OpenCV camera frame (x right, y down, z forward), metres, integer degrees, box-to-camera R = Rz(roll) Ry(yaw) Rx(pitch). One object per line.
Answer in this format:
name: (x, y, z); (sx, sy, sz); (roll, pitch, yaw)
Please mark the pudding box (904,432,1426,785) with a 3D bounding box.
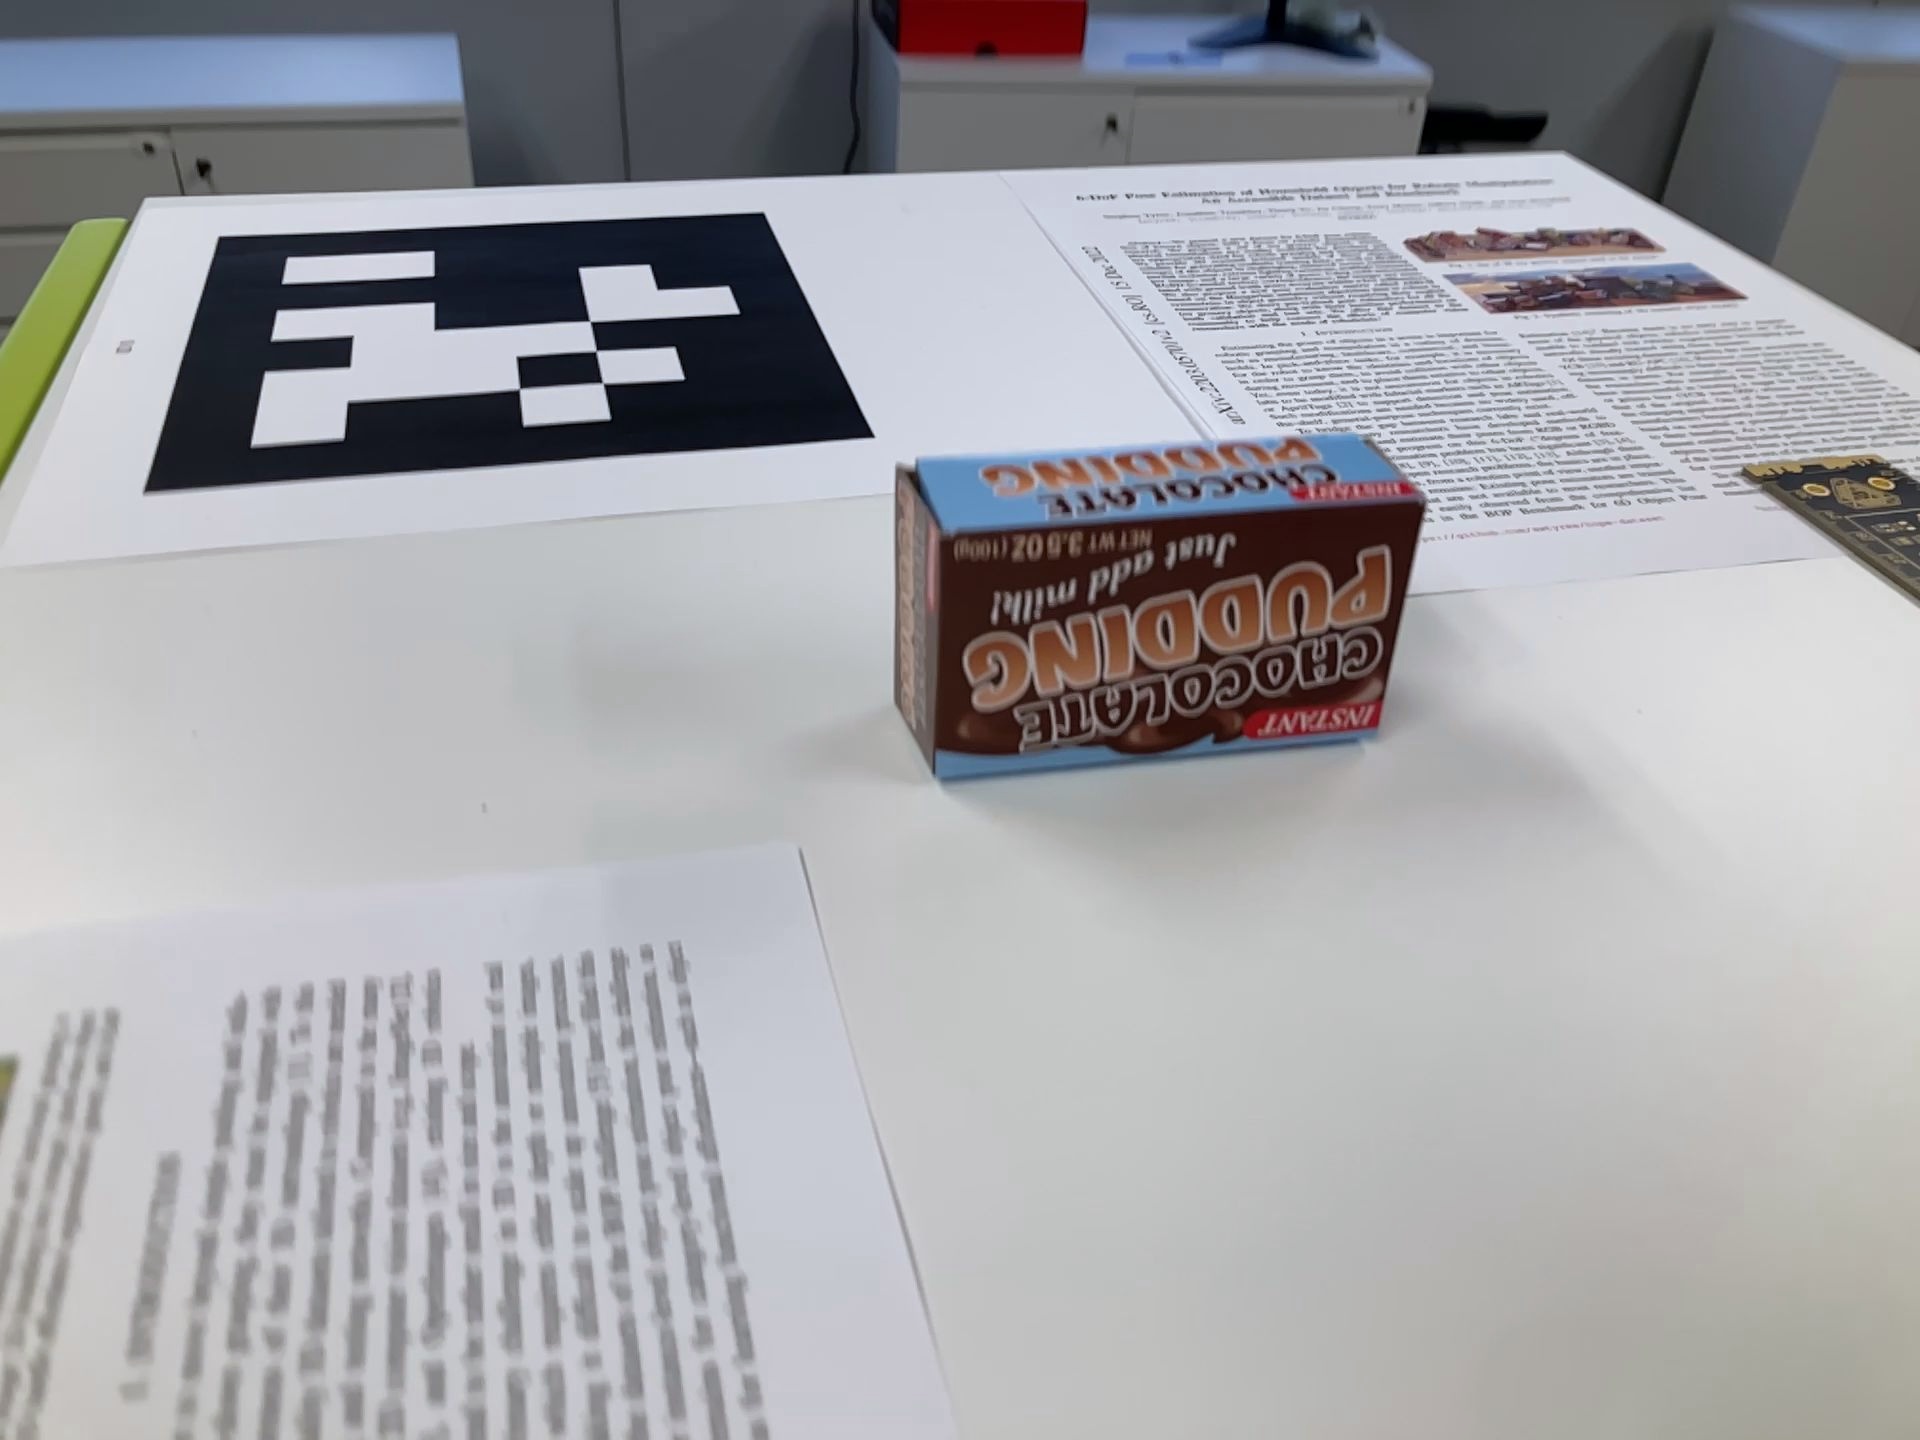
pudding box: (0.033, -0.020, 0.276); (0.083, 0.049, 0.030); (-5, 34, -12)
